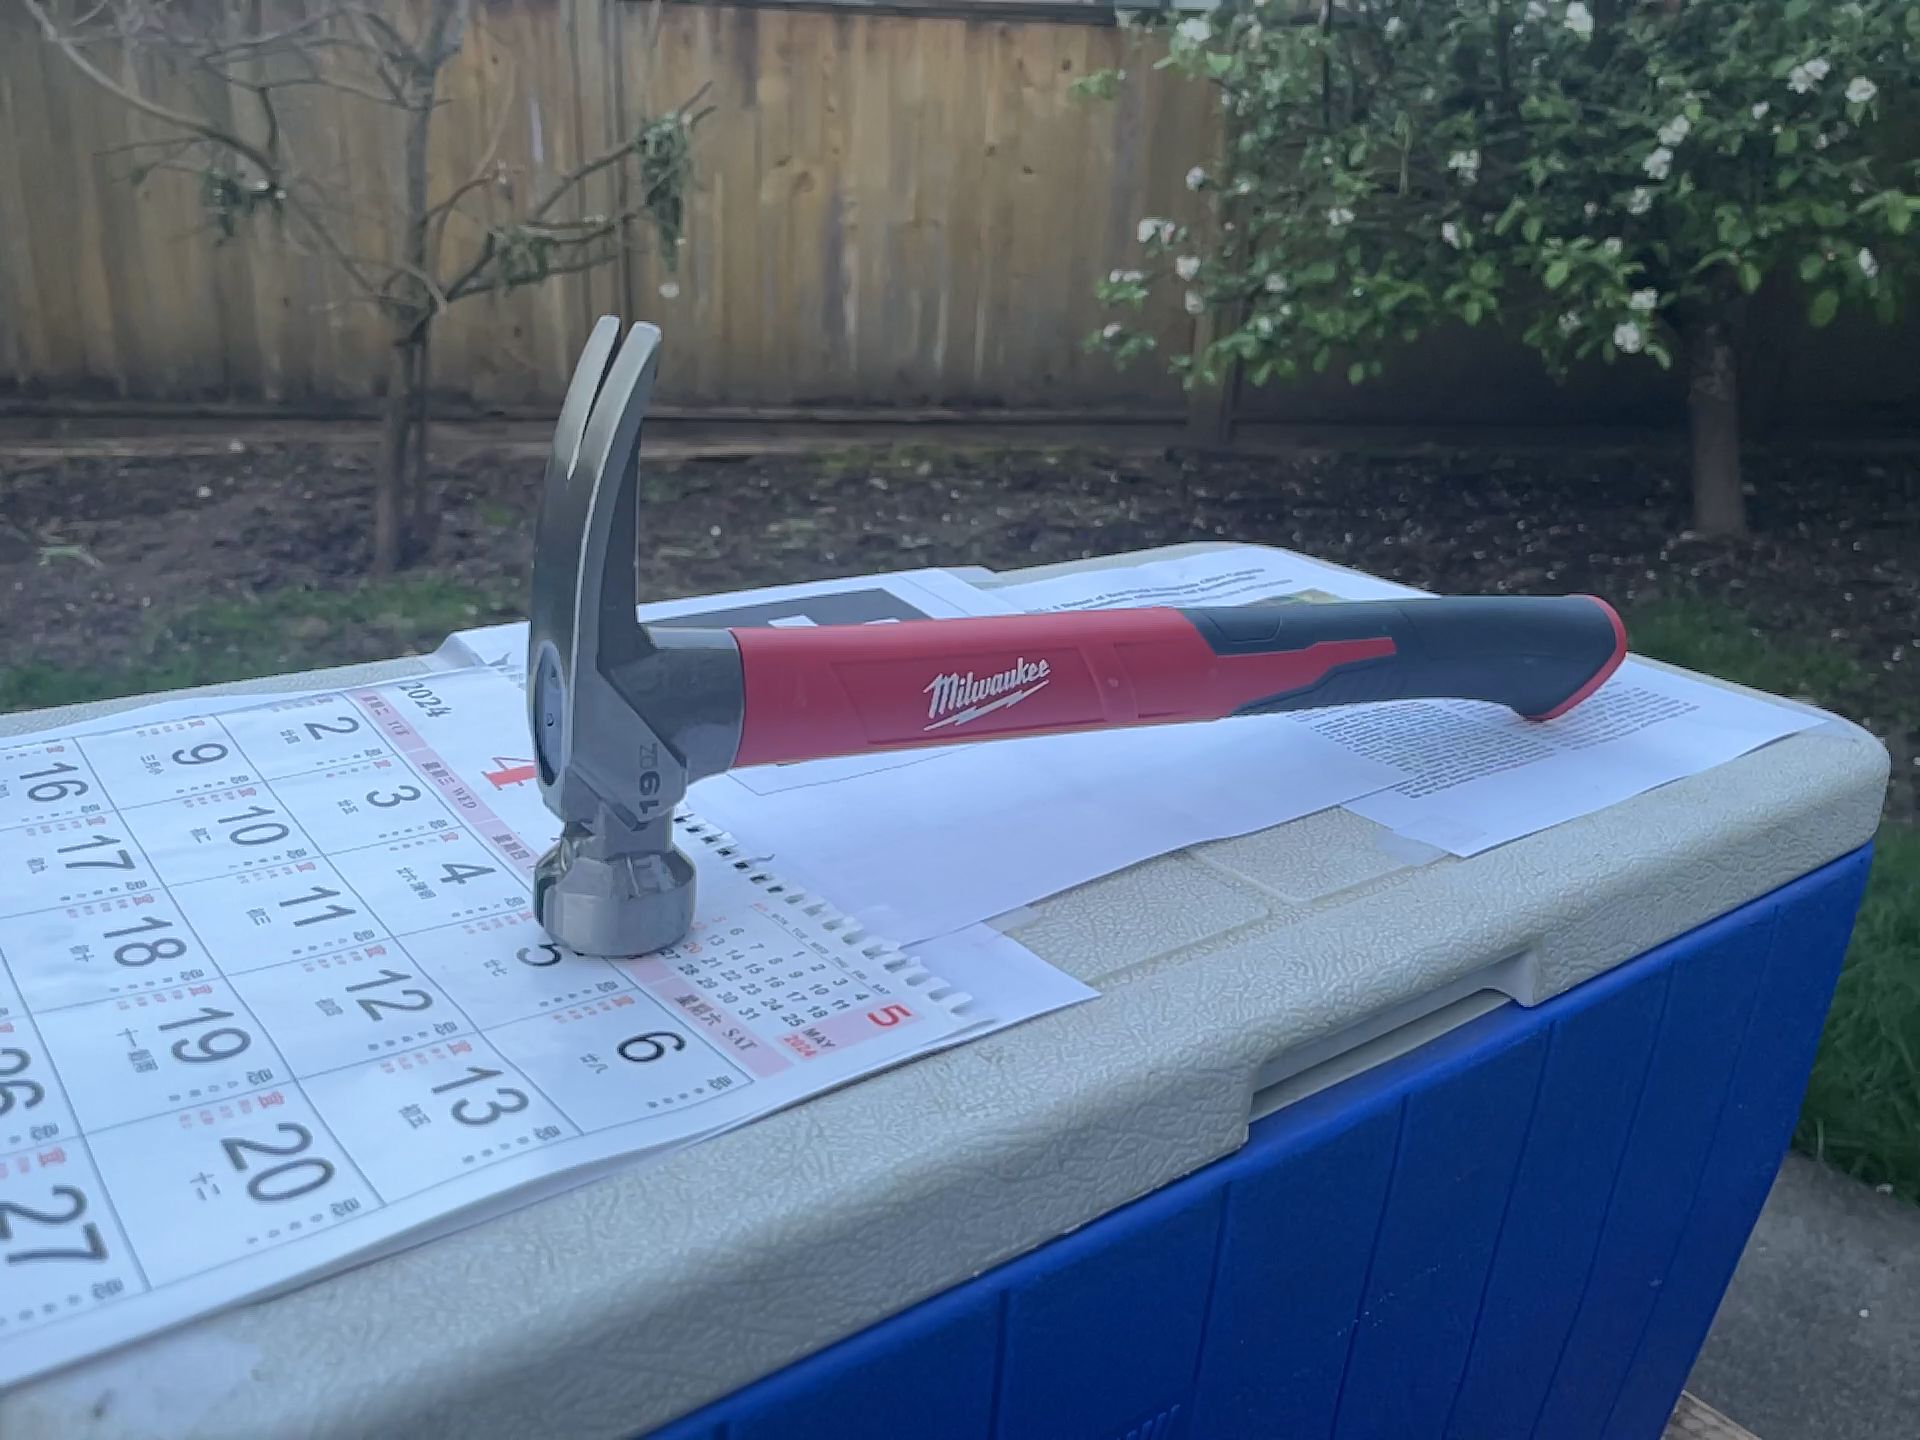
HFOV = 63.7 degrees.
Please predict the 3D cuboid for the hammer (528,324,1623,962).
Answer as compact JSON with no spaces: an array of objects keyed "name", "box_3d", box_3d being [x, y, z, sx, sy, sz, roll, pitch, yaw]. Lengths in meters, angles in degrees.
[{"name":"hammer","box_3d":[0.069,-0.030,0.449,0.386,0.143,0.038,-5,21,-34]}]
